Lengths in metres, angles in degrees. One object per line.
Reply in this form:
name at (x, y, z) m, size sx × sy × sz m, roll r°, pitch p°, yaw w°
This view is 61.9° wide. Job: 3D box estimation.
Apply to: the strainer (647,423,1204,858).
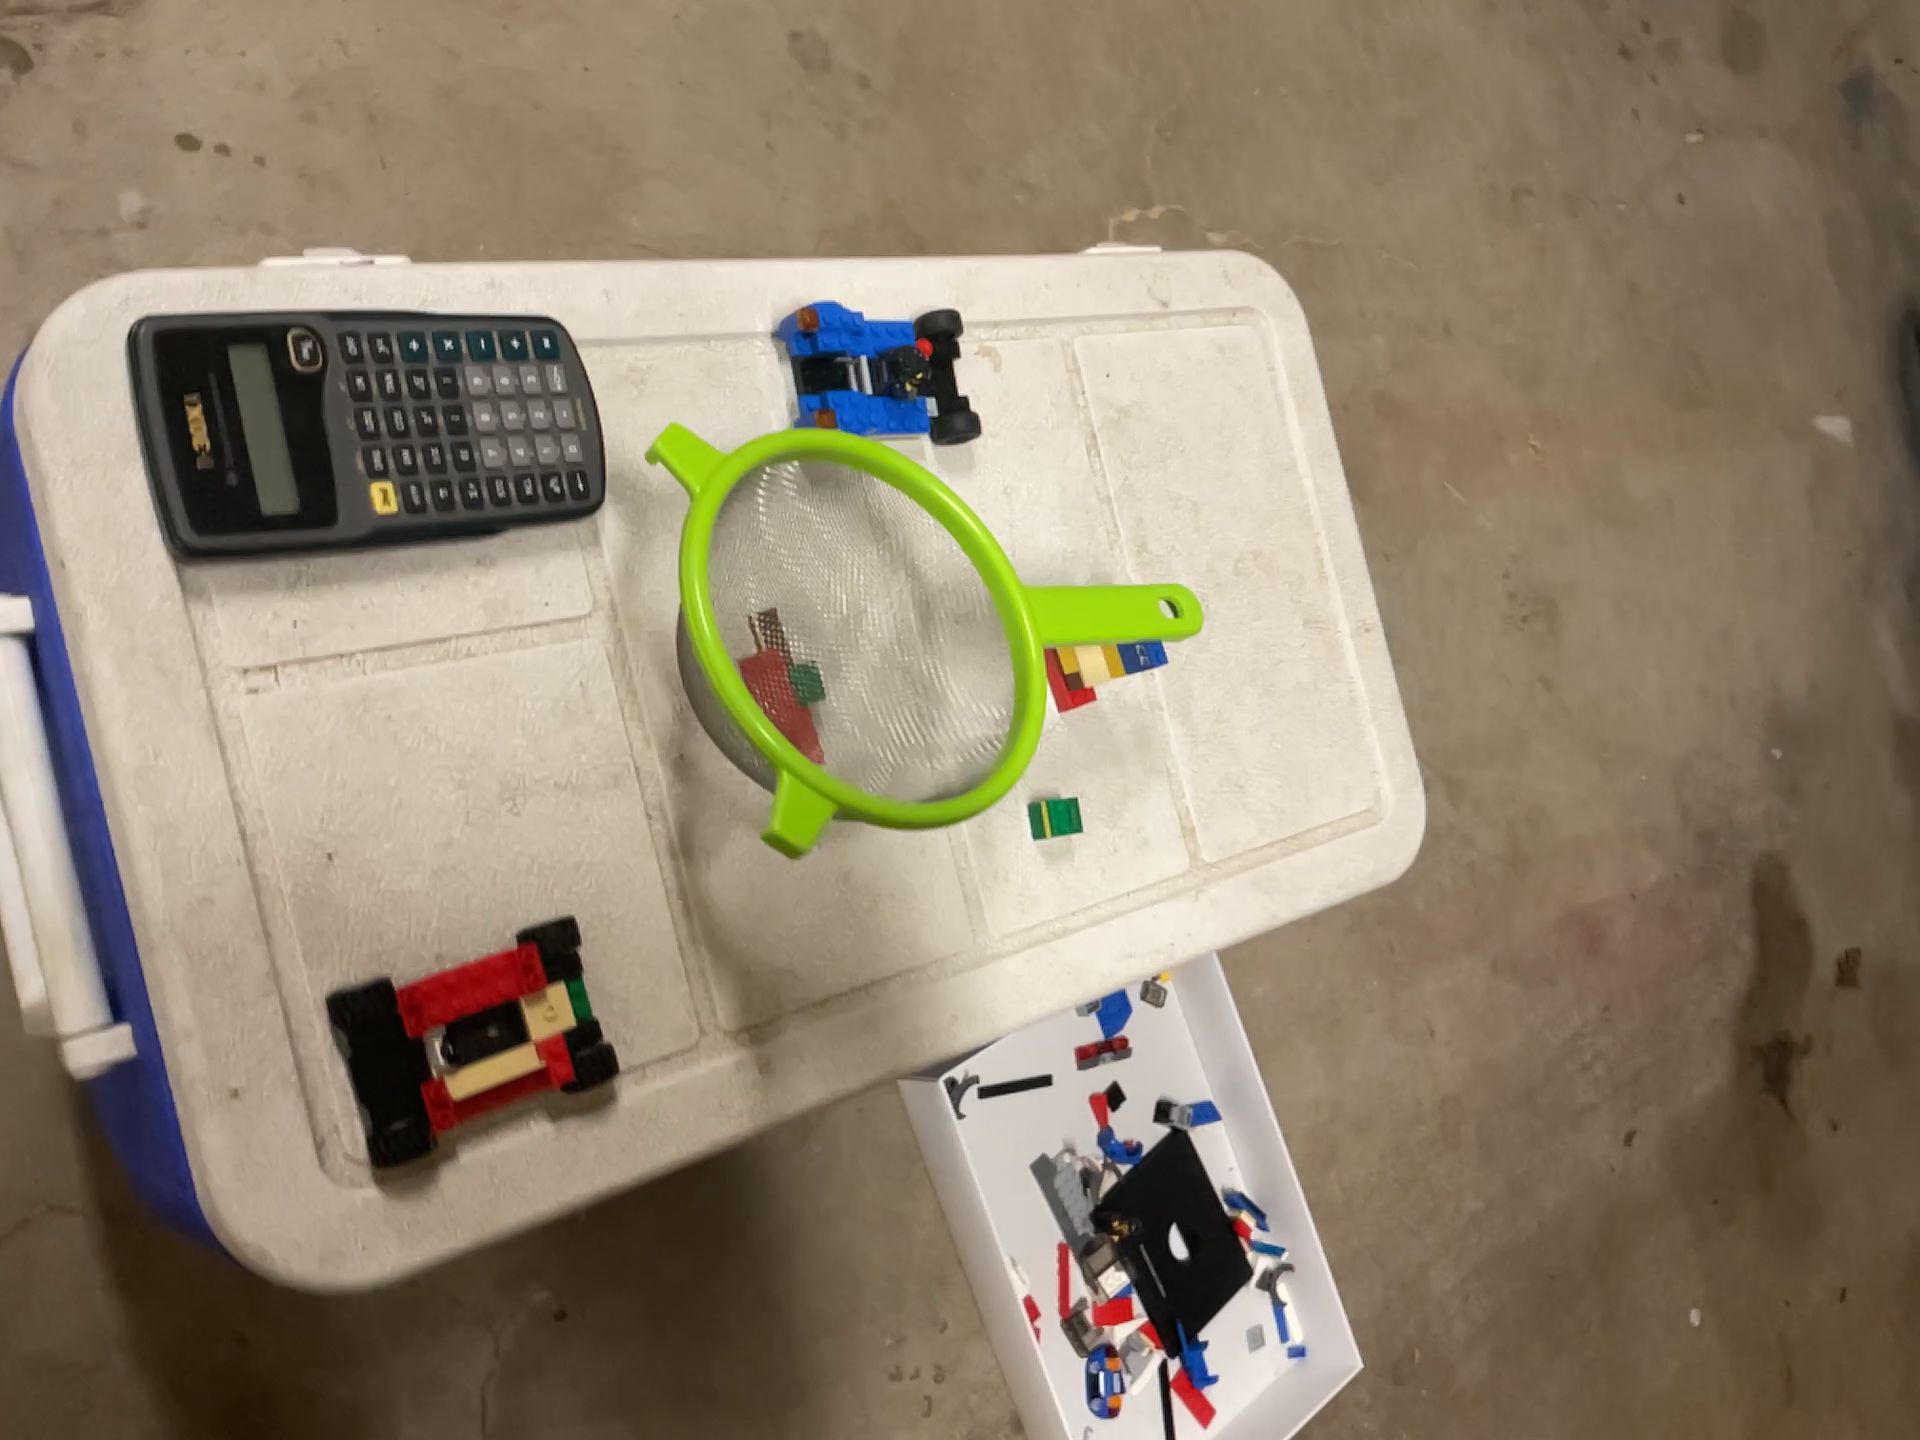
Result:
strainer at (-0.008, -0.027, 0.609) m, size 0.256 × 0.069 × 0.151 m, roll -6°, pitch 71°, yaw -44°
